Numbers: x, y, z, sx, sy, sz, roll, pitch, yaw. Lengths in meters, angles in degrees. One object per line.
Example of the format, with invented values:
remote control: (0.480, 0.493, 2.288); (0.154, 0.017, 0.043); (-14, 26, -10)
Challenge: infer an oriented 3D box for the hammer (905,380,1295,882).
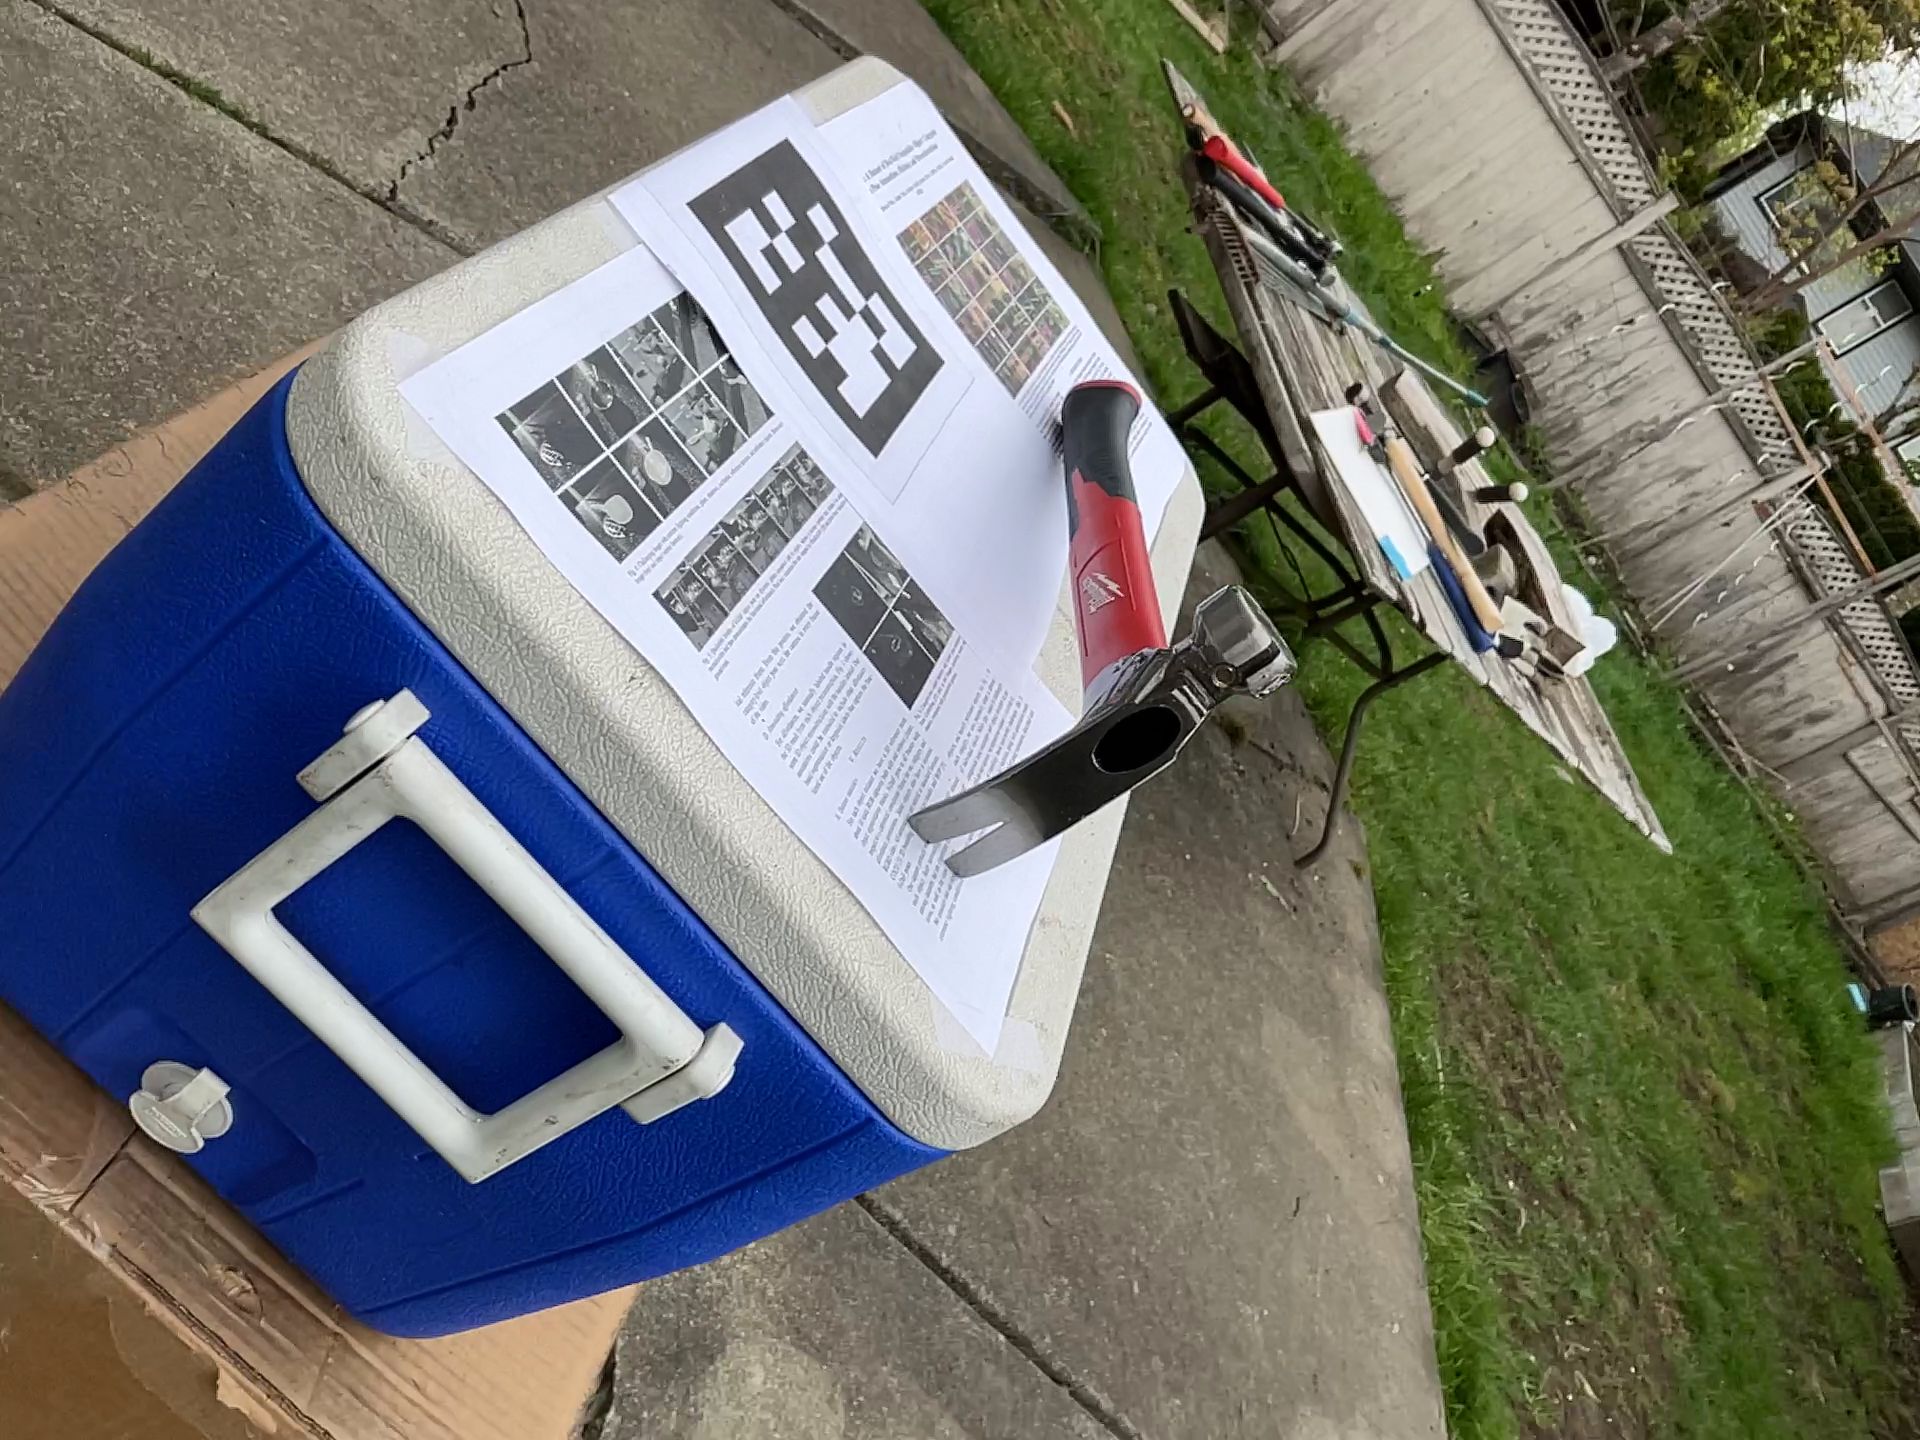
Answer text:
hammer: (0.051, -0.071, 0.706); (0.038, 0.143, 0.386); (49, 18, -20)
